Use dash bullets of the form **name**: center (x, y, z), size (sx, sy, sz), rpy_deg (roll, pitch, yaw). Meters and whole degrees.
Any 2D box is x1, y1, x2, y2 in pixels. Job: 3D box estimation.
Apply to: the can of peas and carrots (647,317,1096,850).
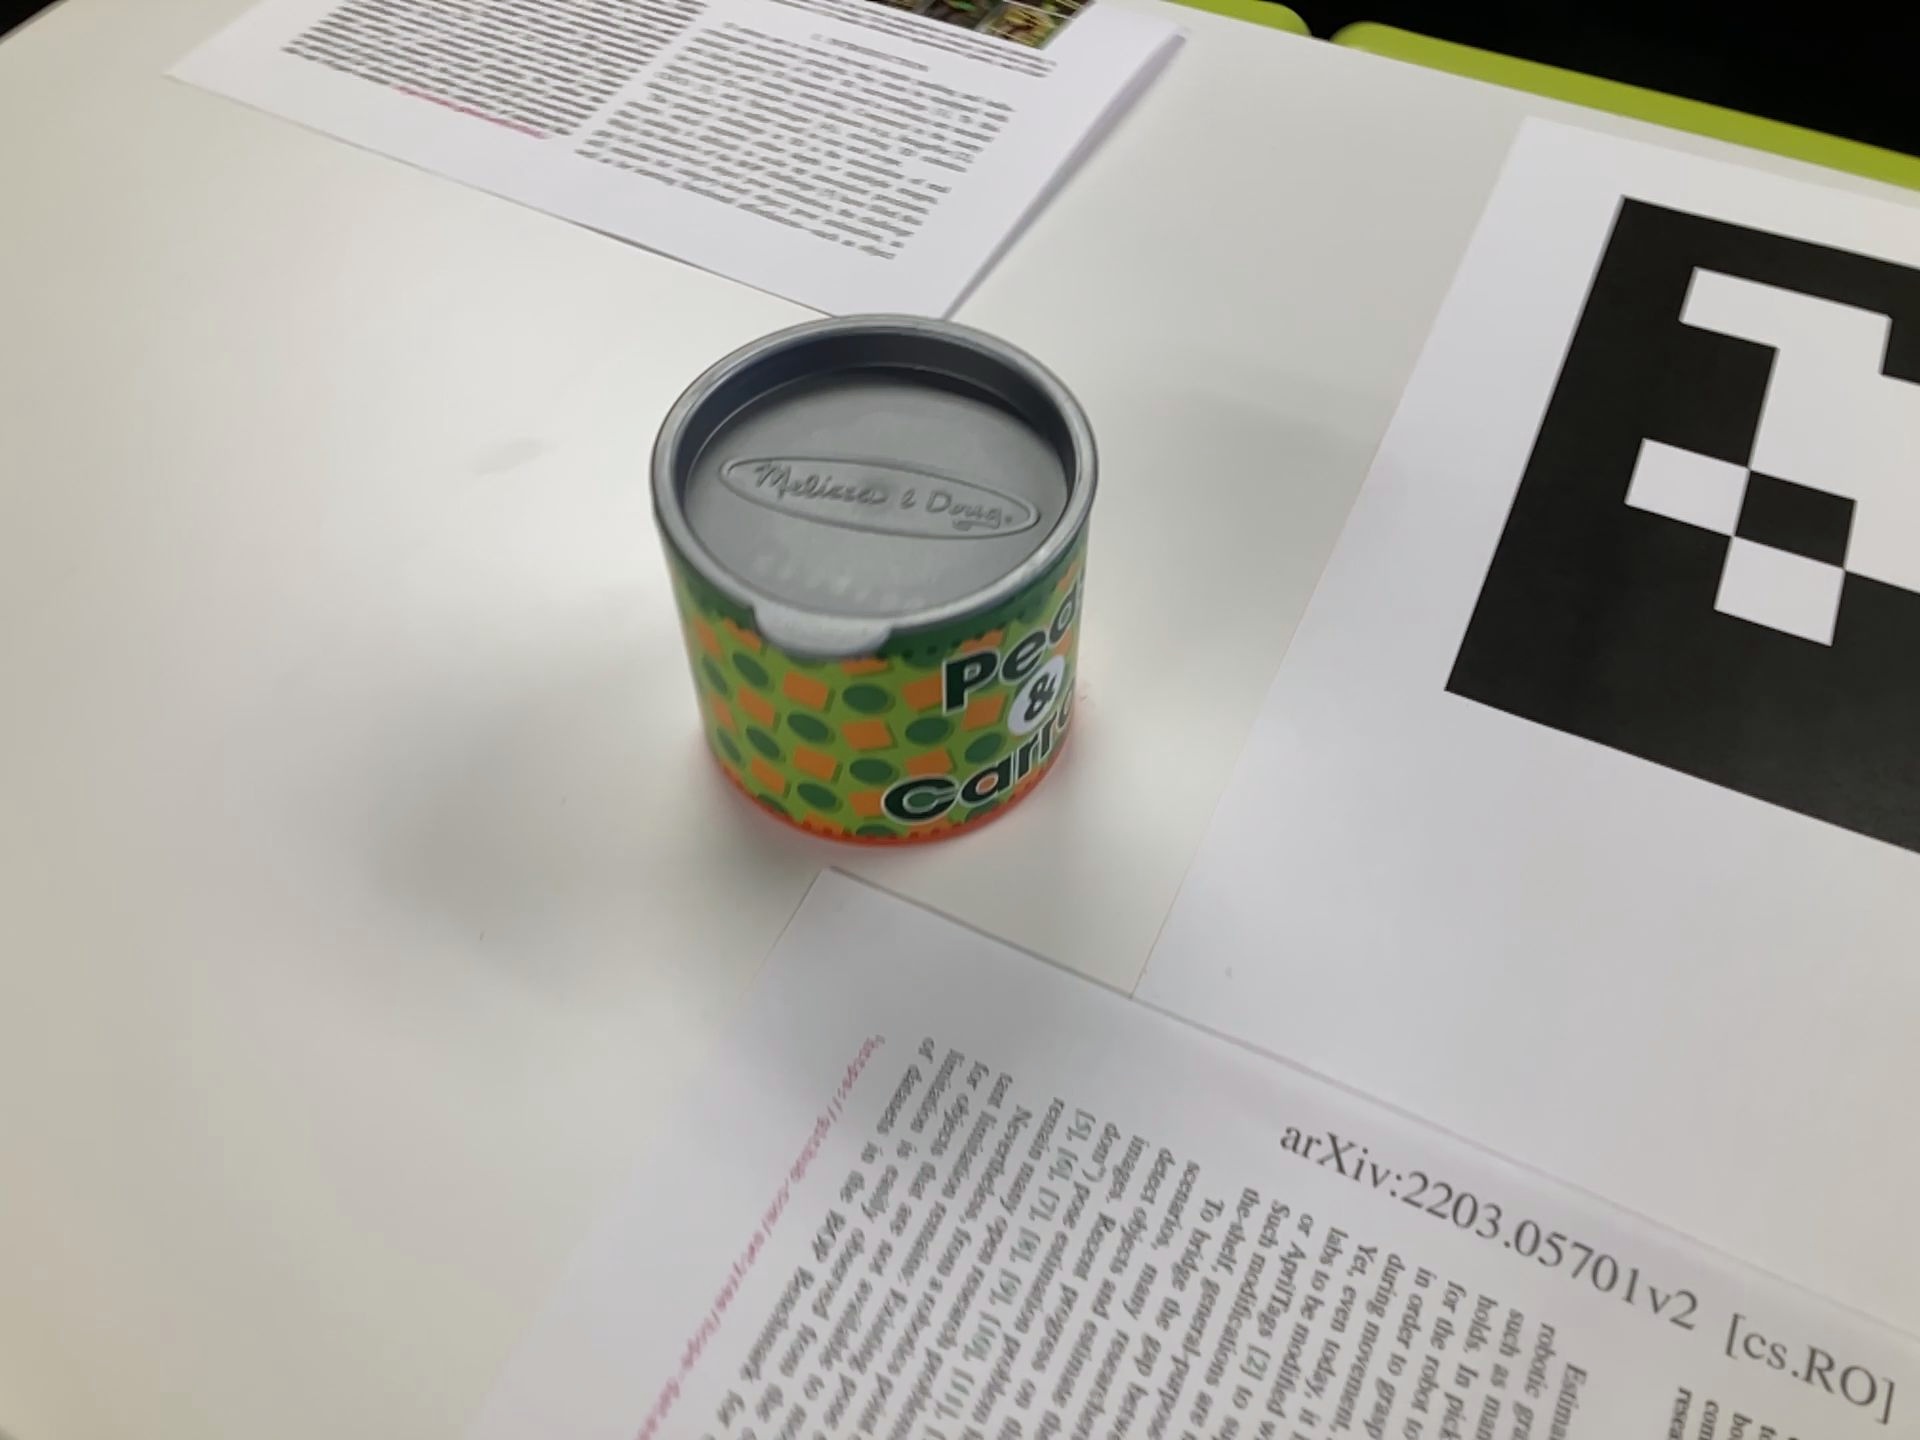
- **can of peas and carrots**: center (-0.011, -0.020, 0.256), size (0.071, 0.059, 0.071), rpy_deg (0, 53, 0)
